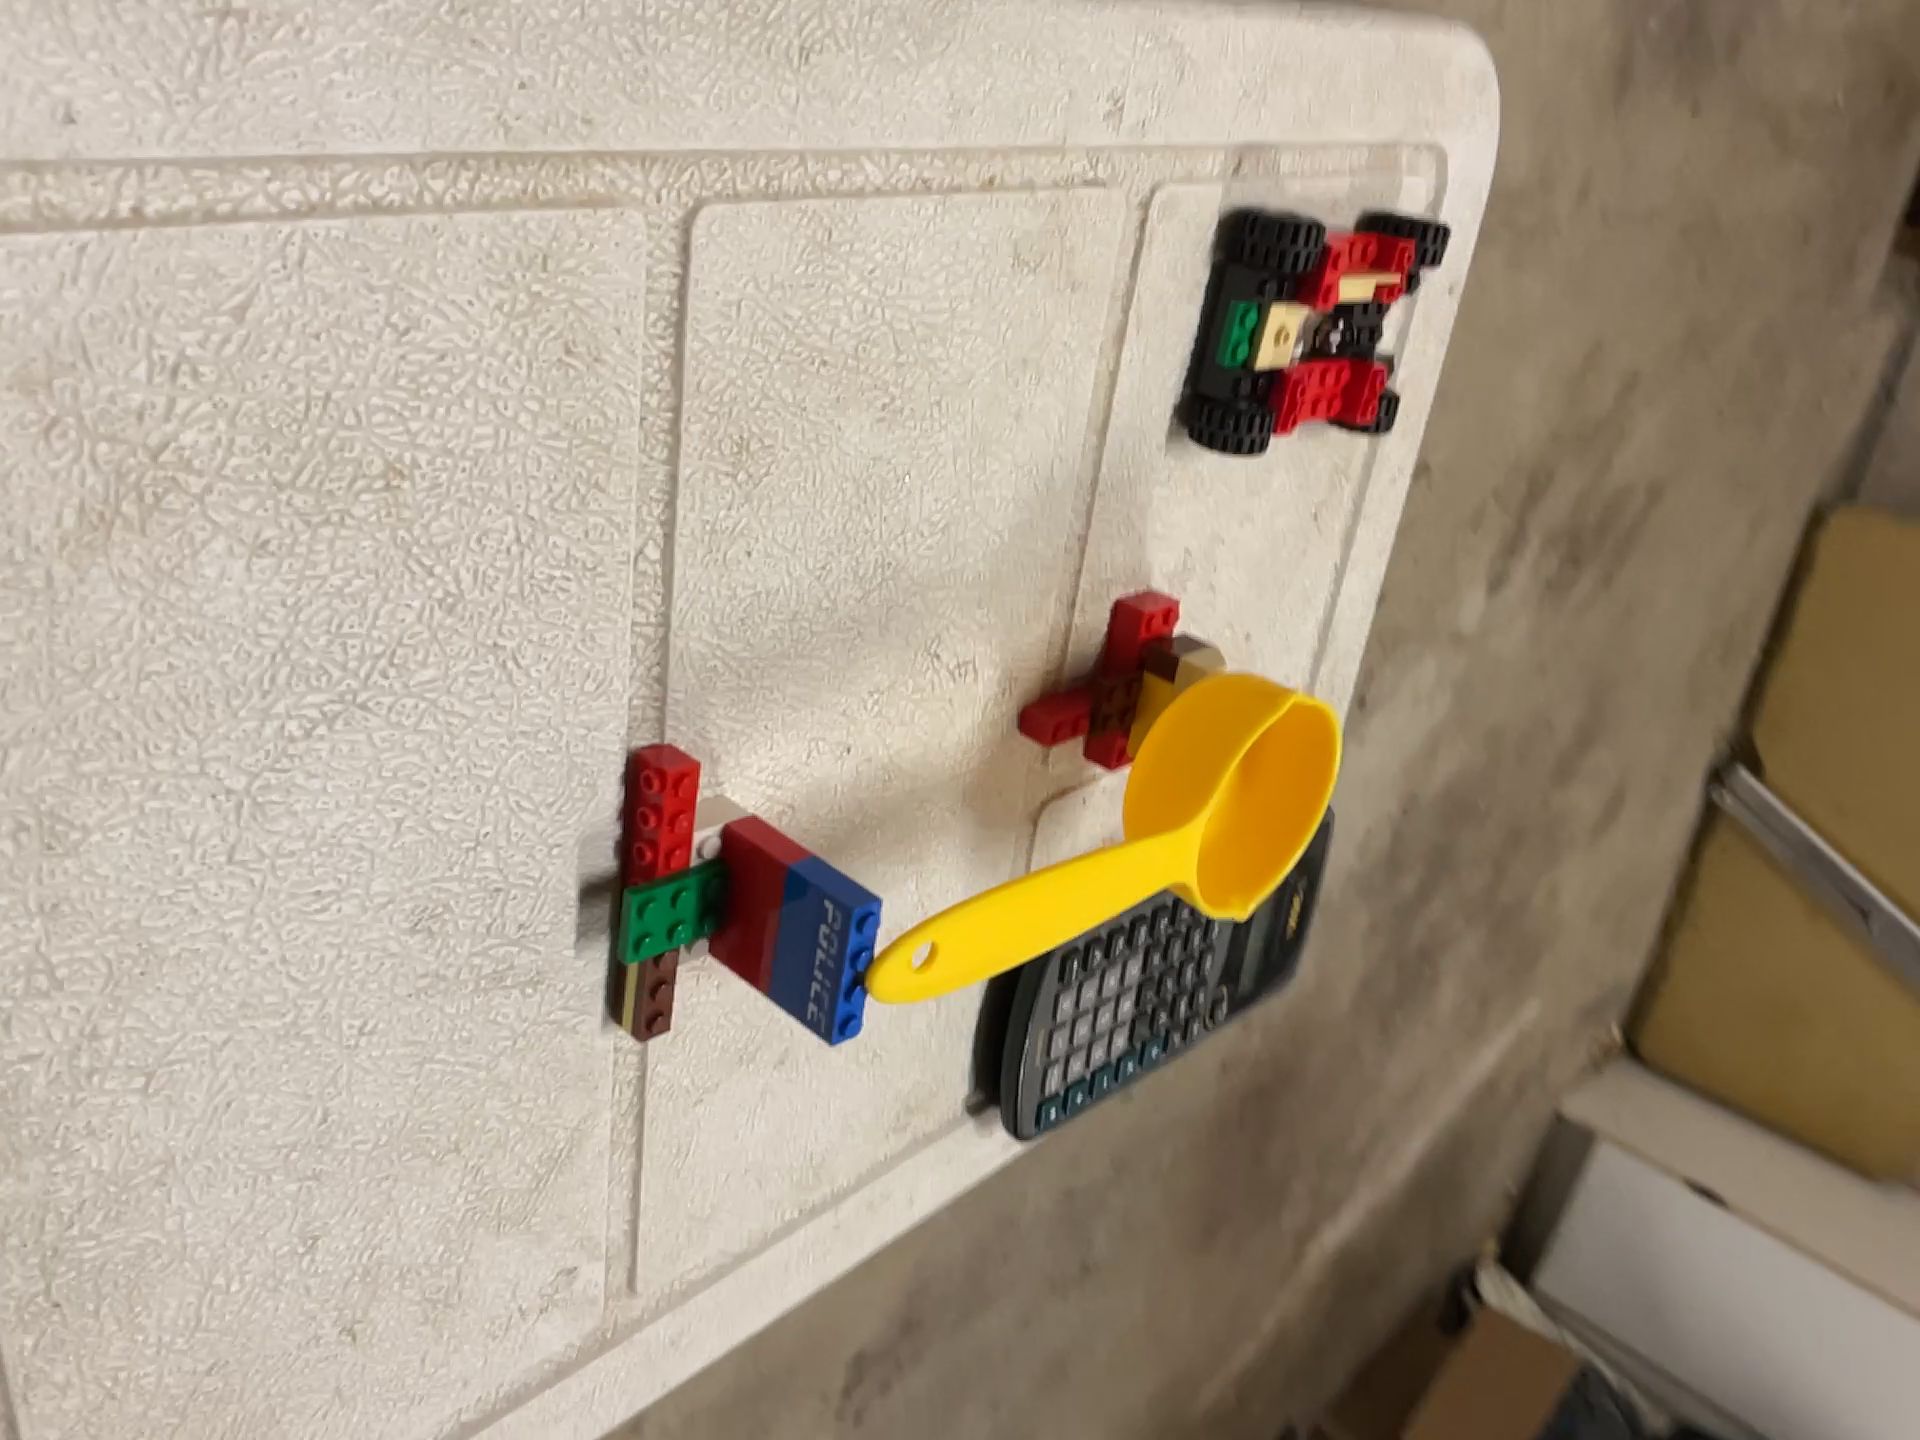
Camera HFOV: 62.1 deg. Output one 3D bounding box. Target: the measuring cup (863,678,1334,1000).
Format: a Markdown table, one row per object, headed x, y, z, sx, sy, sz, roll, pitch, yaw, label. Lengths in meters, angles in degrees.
| x | y | z | sx | sy | sz | roll | pitch | yaw | label |
| --- | --- | --- | --- | --- | --- | --- | --- | --- | --- |
| 0.031 | 0.028 | 0.371 | 0.156 | 0.029 | 0.062 | -18 | 126 | -40 | measuring cup |
